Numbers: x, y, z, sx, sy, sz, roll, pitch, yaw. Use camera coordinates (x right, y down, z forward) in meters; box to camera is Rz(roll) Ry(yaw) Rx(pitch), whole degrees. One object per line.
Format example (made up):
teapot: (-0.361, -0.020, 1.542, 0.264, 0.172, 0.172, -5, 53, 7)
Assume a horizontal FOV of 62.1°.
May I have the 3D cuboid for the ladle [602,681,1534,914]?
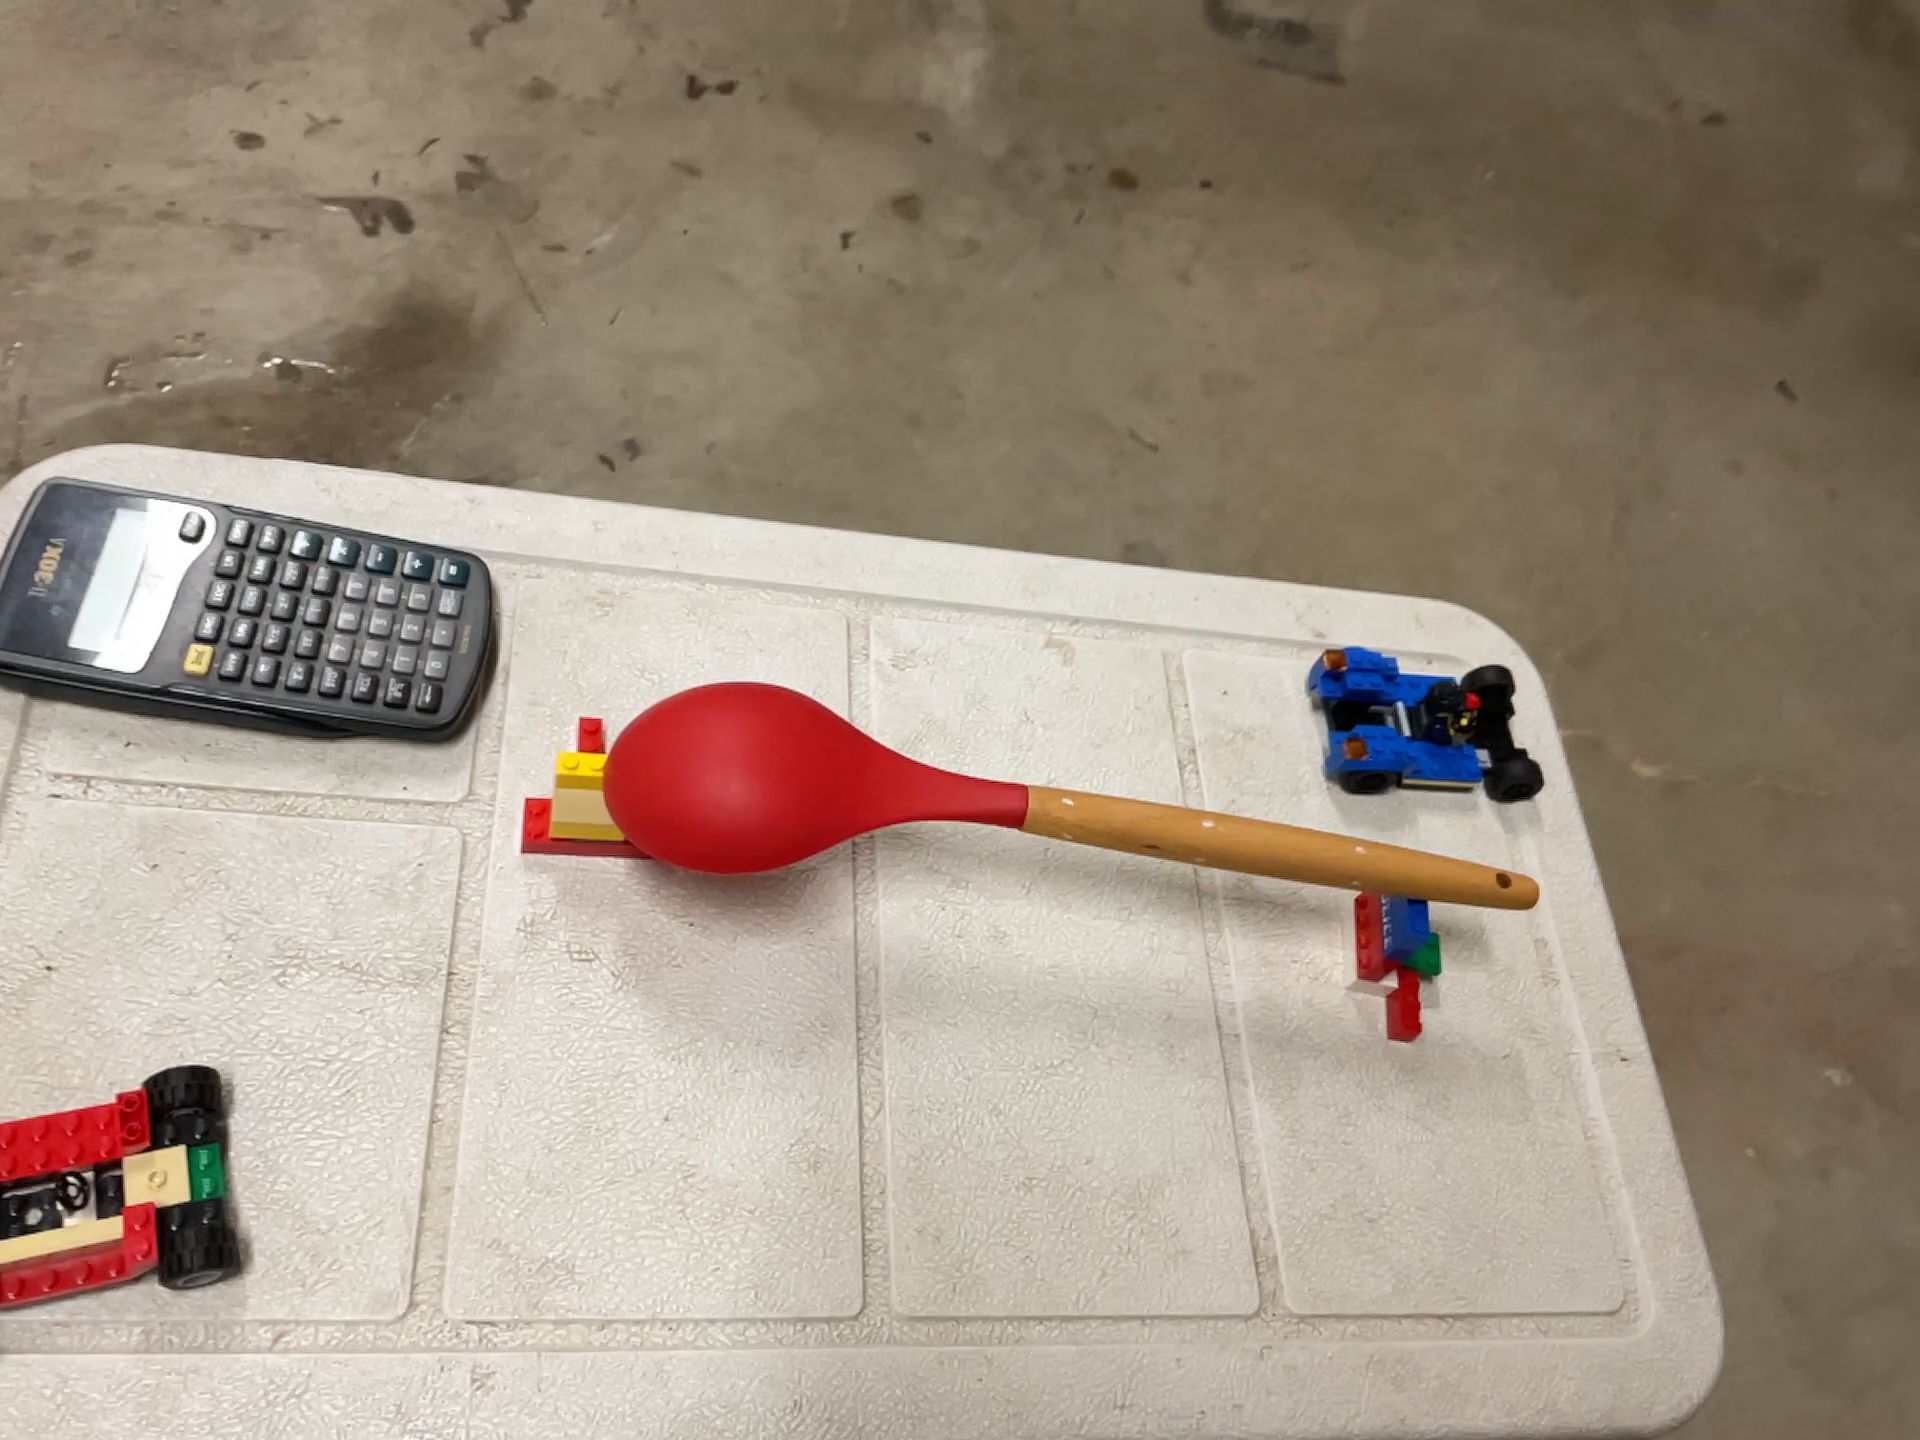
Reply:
ladle: (0.044, 0.035, 0.520, 0.315, 0.031, 0.069, 10, 56, -12)
